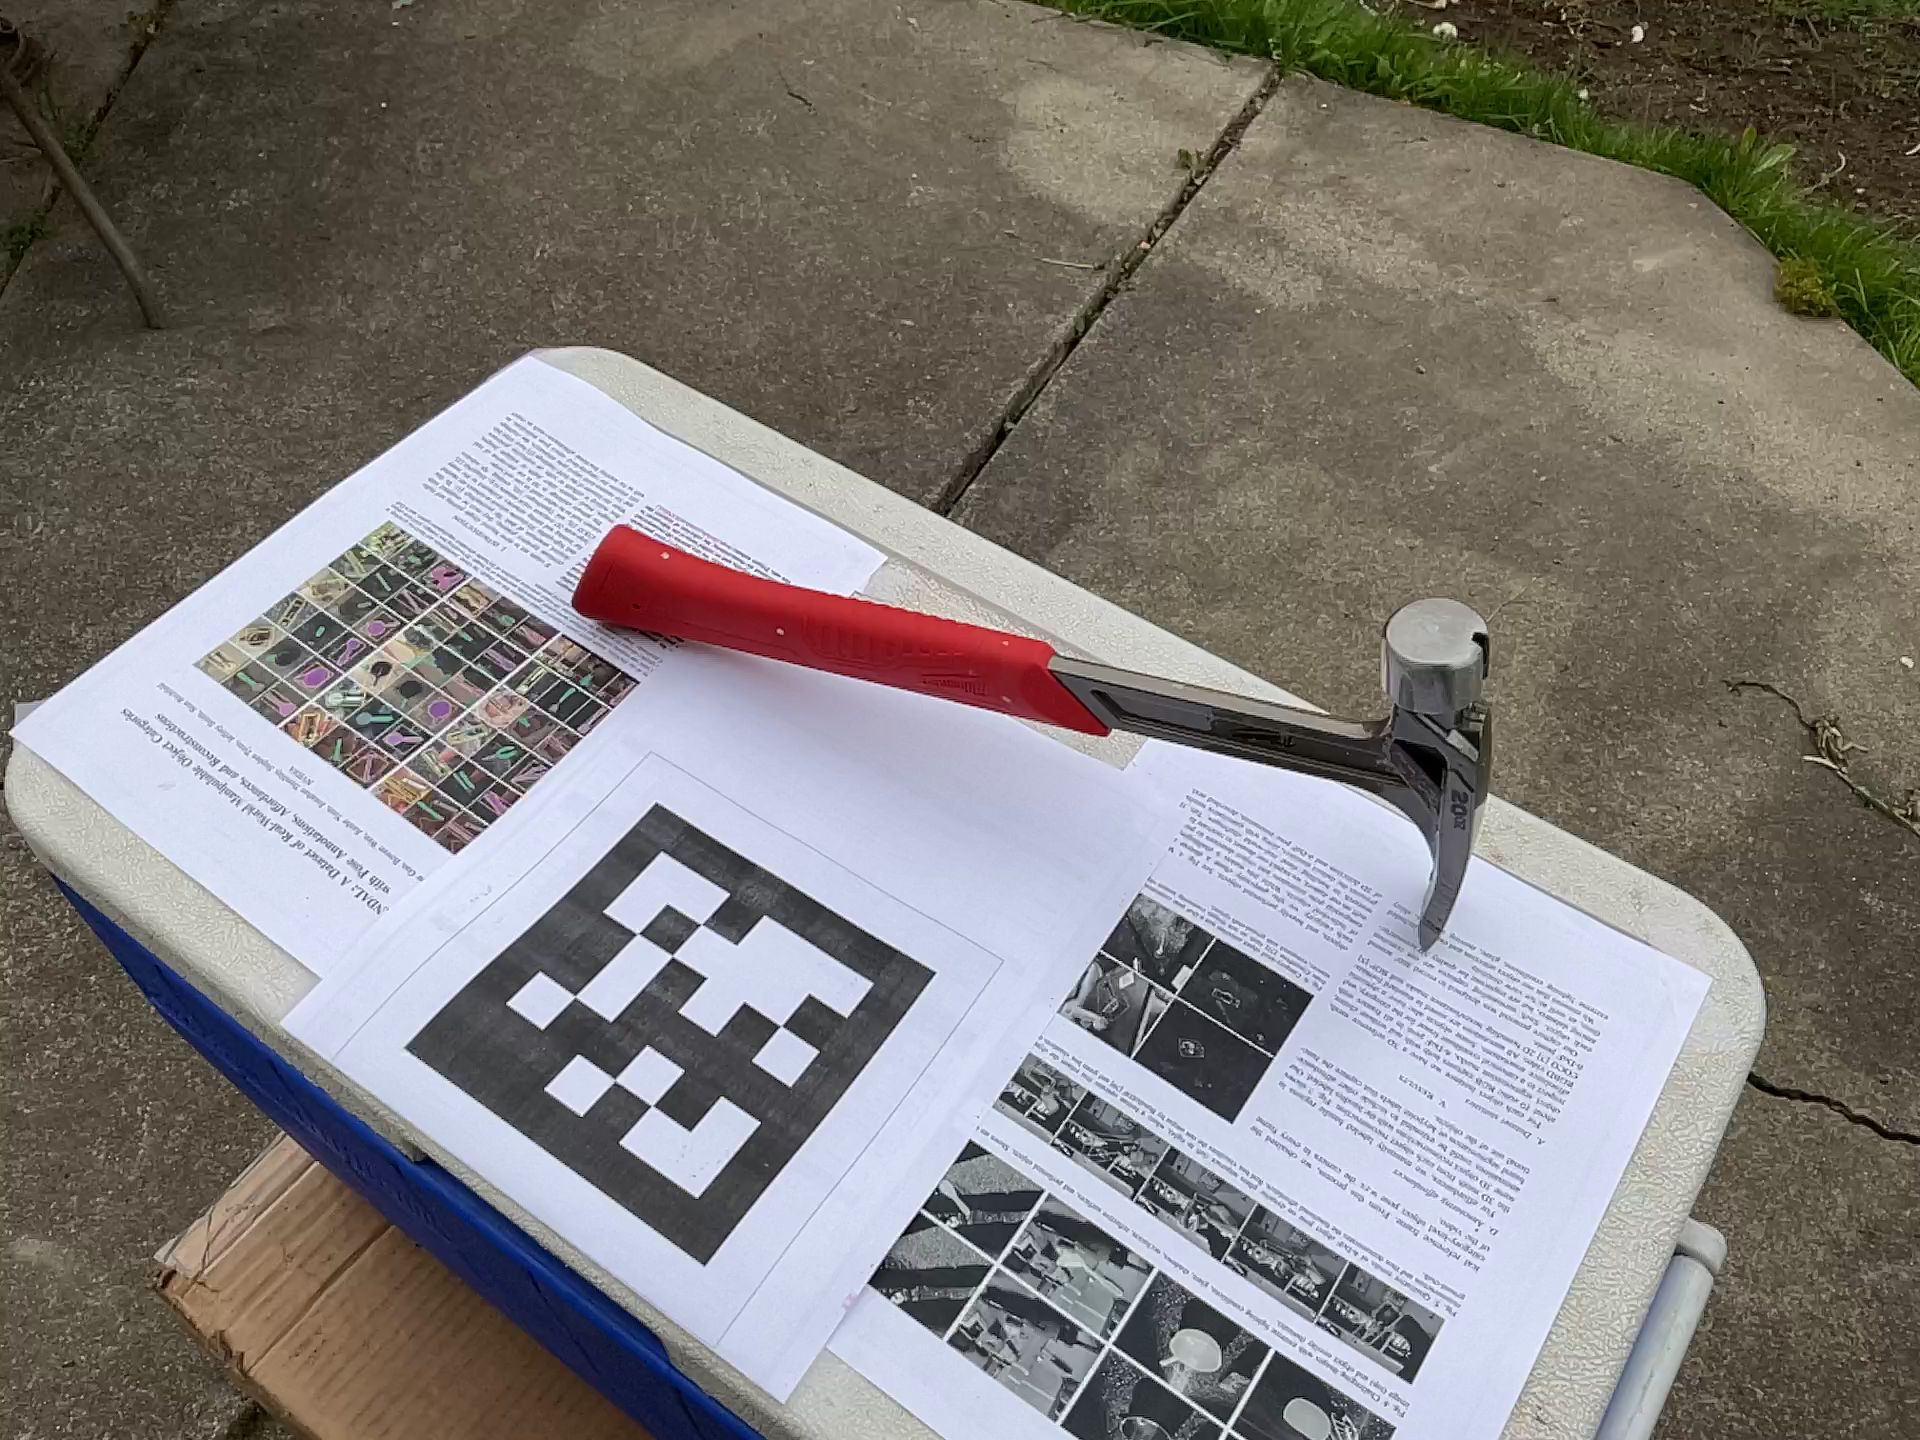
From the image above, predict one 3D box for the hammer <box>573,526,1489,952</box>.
[{"bbox_3d":[0.011,-0.012,0.596,0.359,0.149,0.037,13,53,24],"label":"hammer"}]
